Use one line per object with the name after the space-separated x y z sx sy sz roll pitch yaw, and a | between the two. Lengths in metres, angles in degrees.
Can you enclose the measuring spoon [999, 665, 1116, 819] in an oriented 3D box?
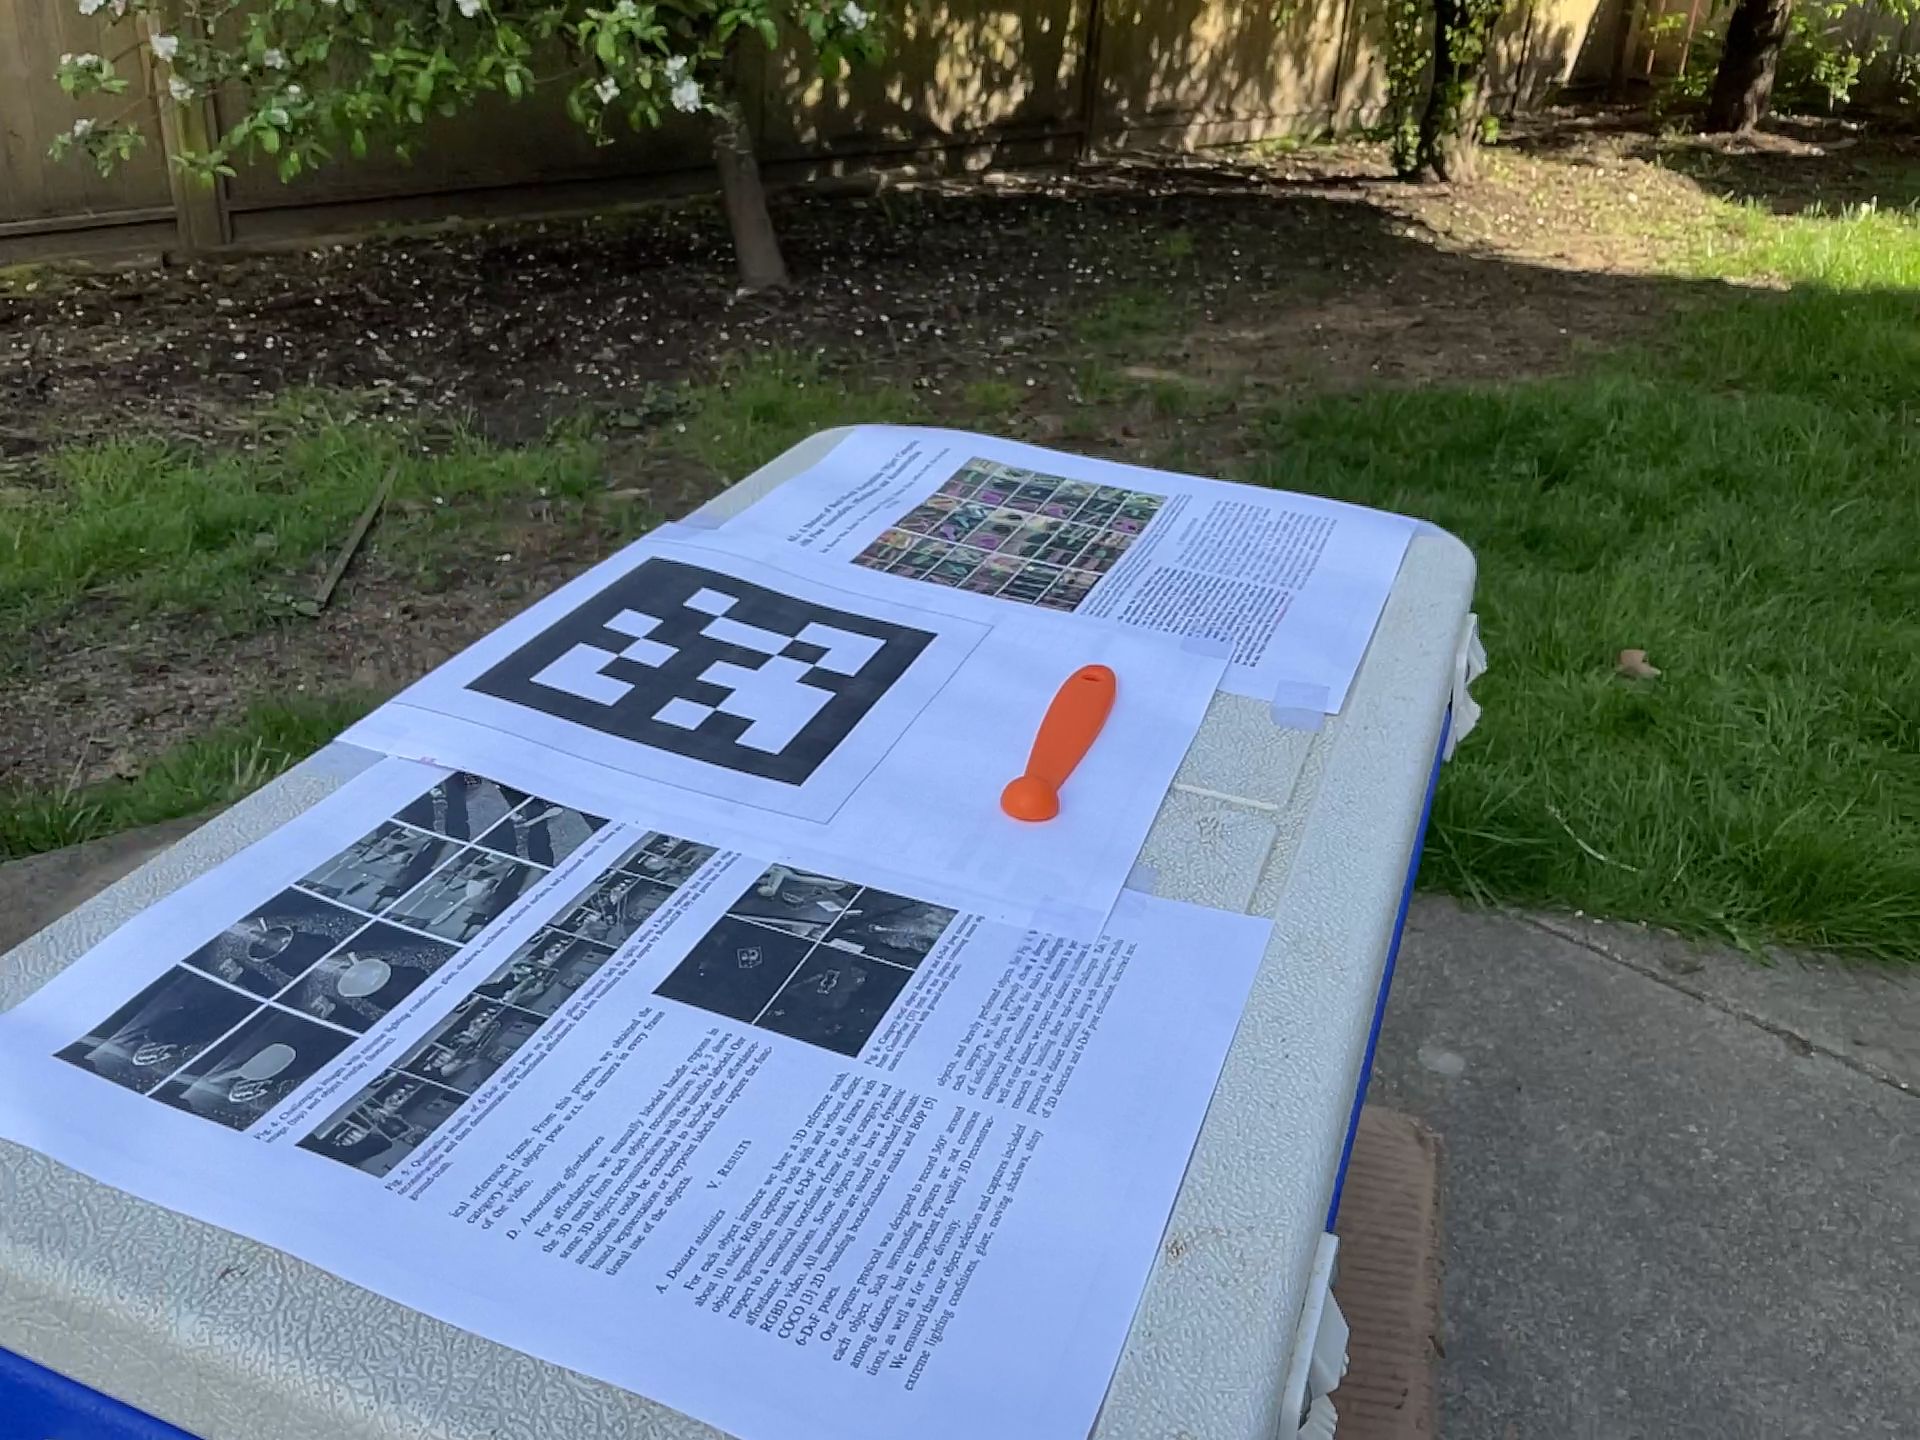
0.037 0.002 0.558 0.021 0.011 0.117 16 29 10 | measuring spoon
